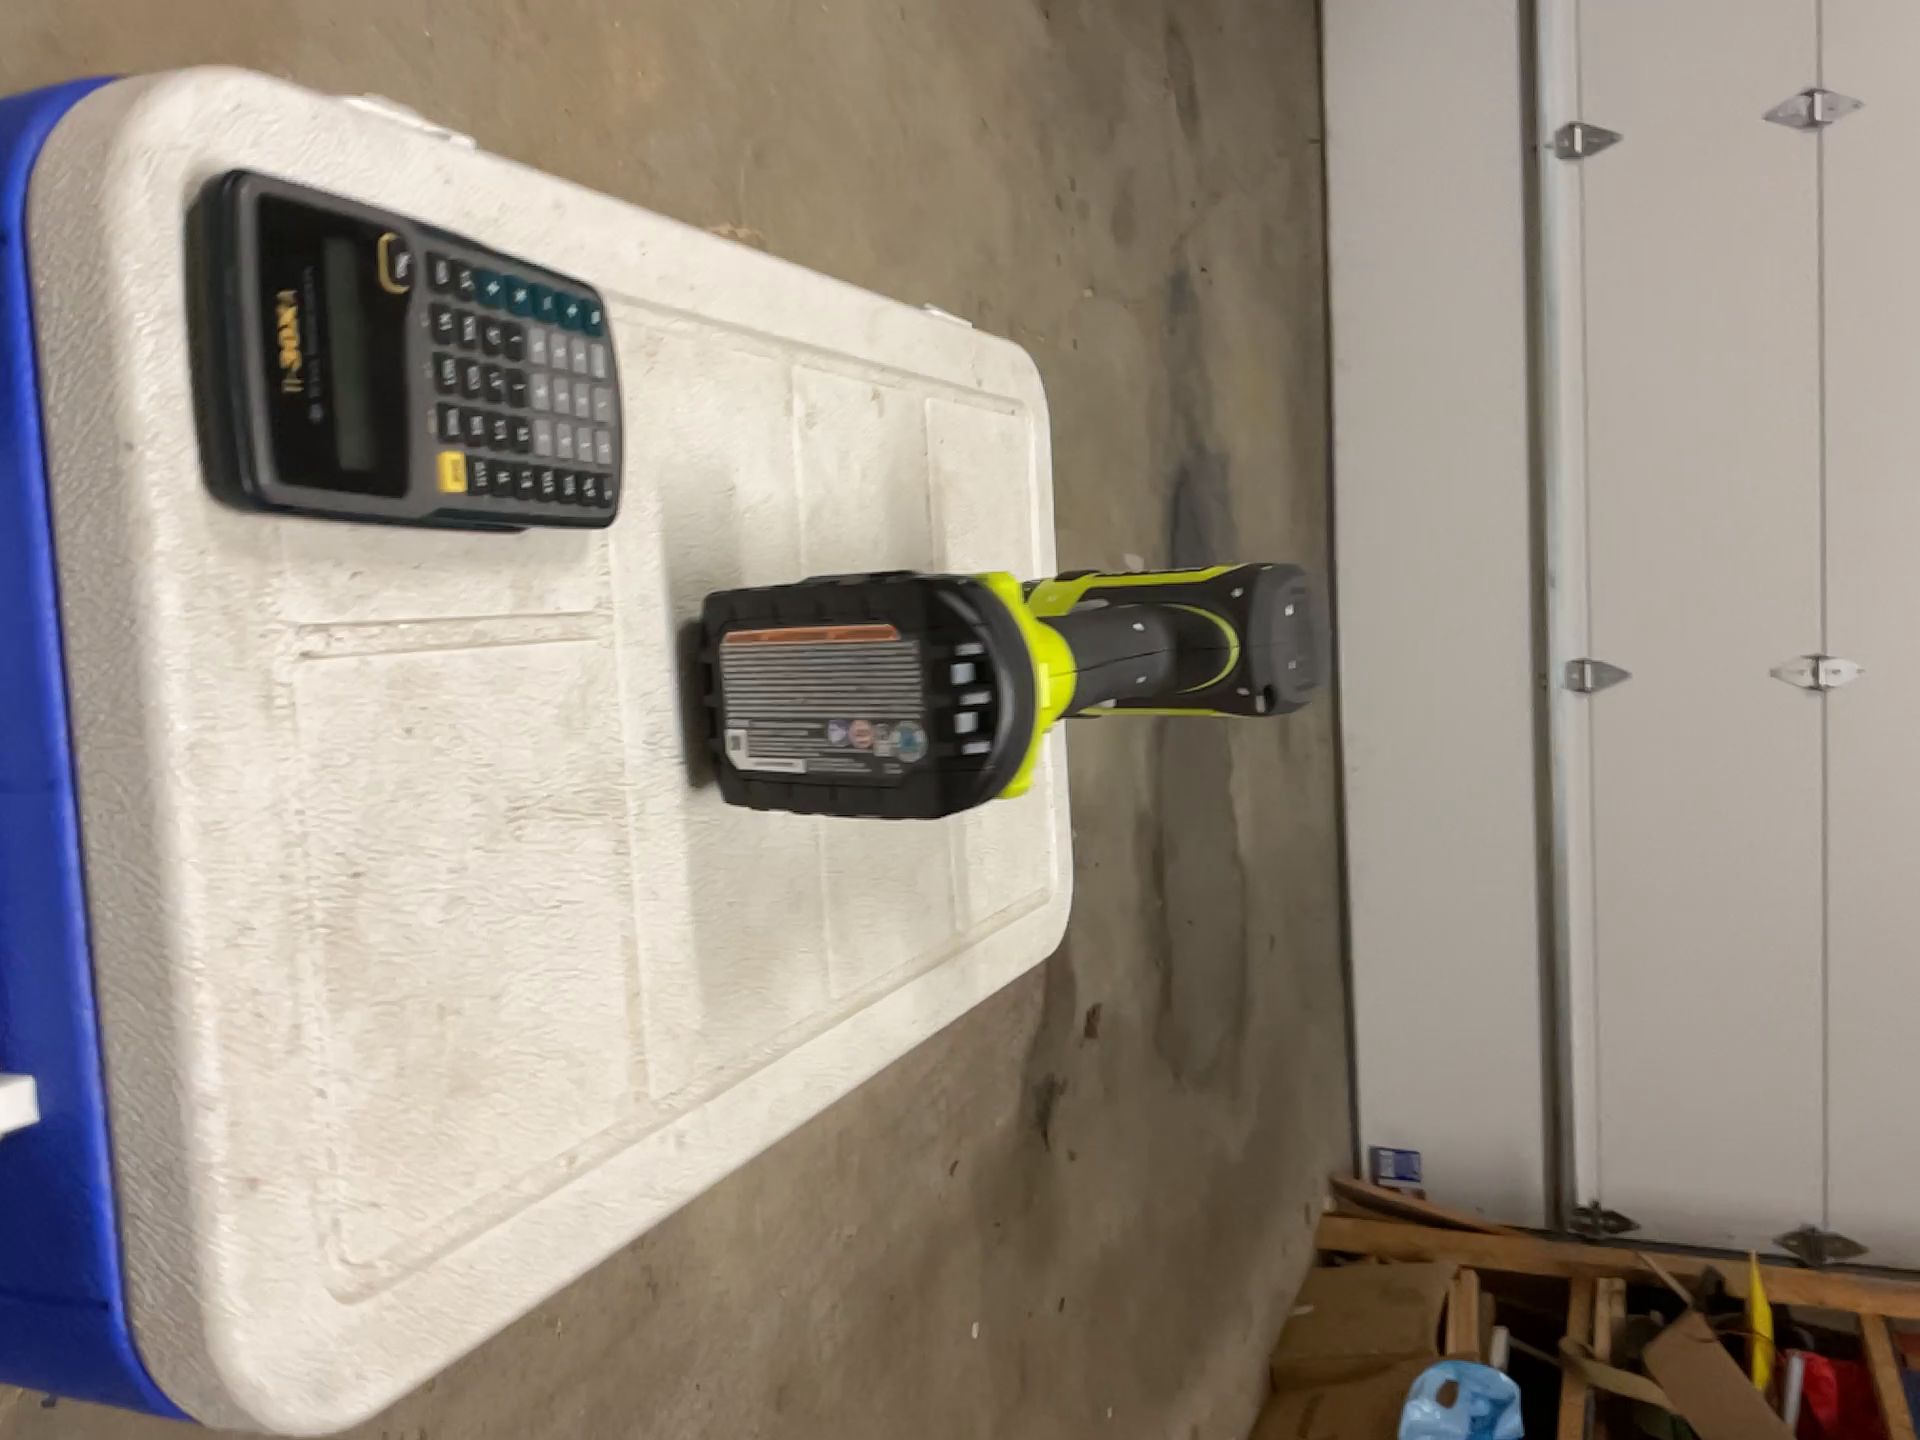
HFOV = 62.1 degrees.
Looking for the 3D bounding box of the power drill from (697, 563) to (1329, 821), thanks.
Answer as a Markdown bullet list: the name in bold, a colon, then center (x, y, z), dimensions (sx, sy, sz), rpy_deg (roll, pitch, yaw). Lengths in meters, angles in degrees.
- **power drill**: center (0.010, -0.021, 0.618), dimensions (0.229, 0.190, 0.080), rpy_deg (-12, 100, -52)
